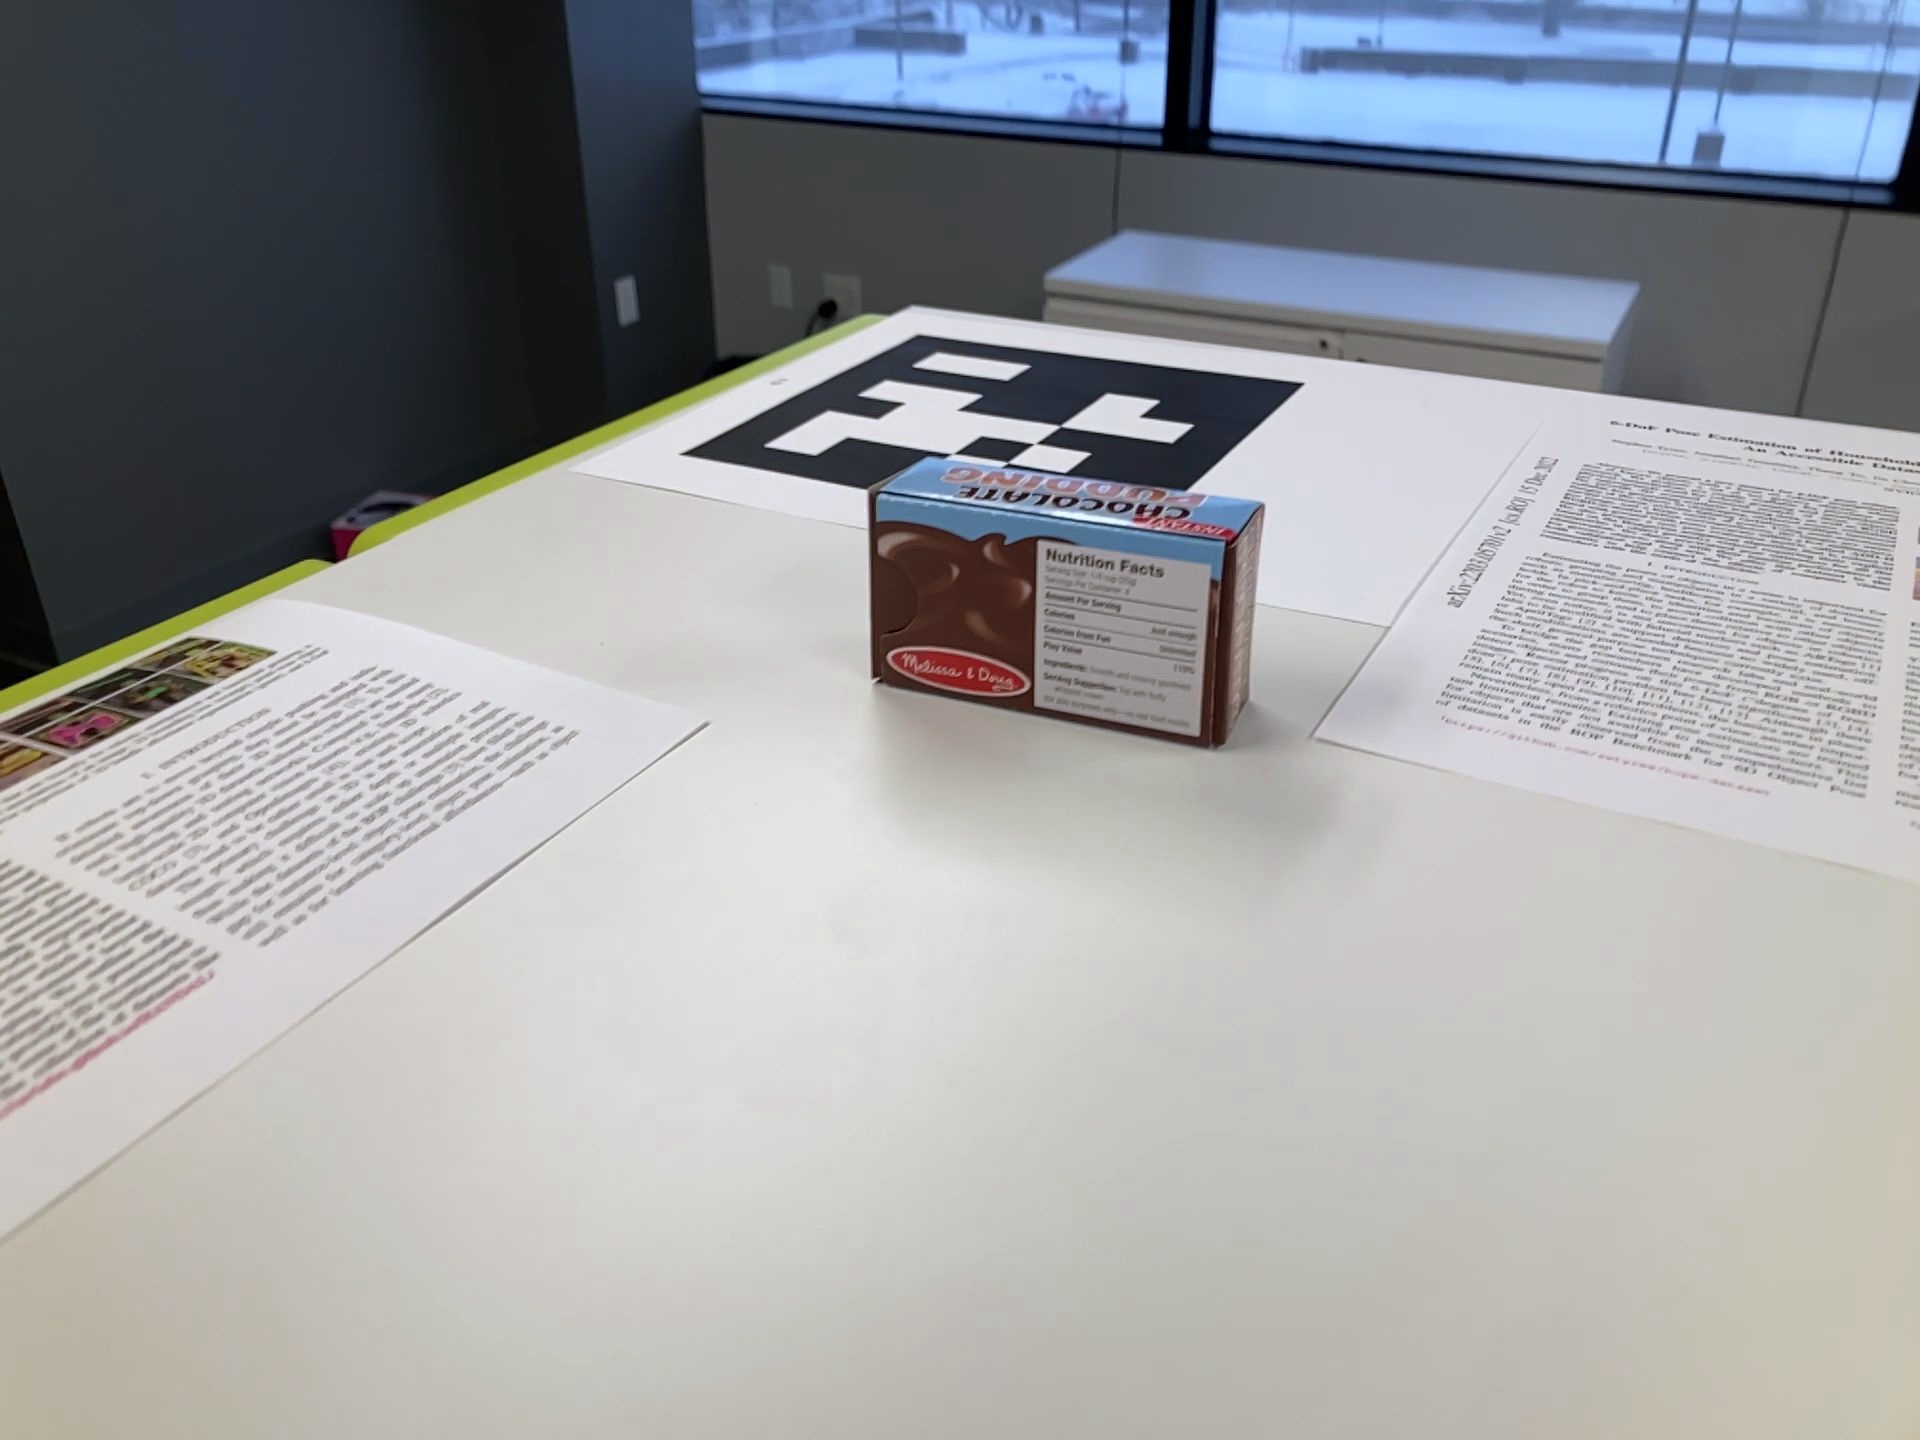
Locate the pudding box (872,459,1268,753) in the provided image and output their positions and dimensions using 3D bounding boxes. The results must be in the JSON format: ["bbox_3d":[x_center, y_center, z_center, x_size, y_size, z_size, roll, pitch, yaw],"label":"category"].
[{"bbox_3d":[0.023,-0.027,0.356,0.083,0.049,0.030,11,29,22],"label":"pudding box"}]
